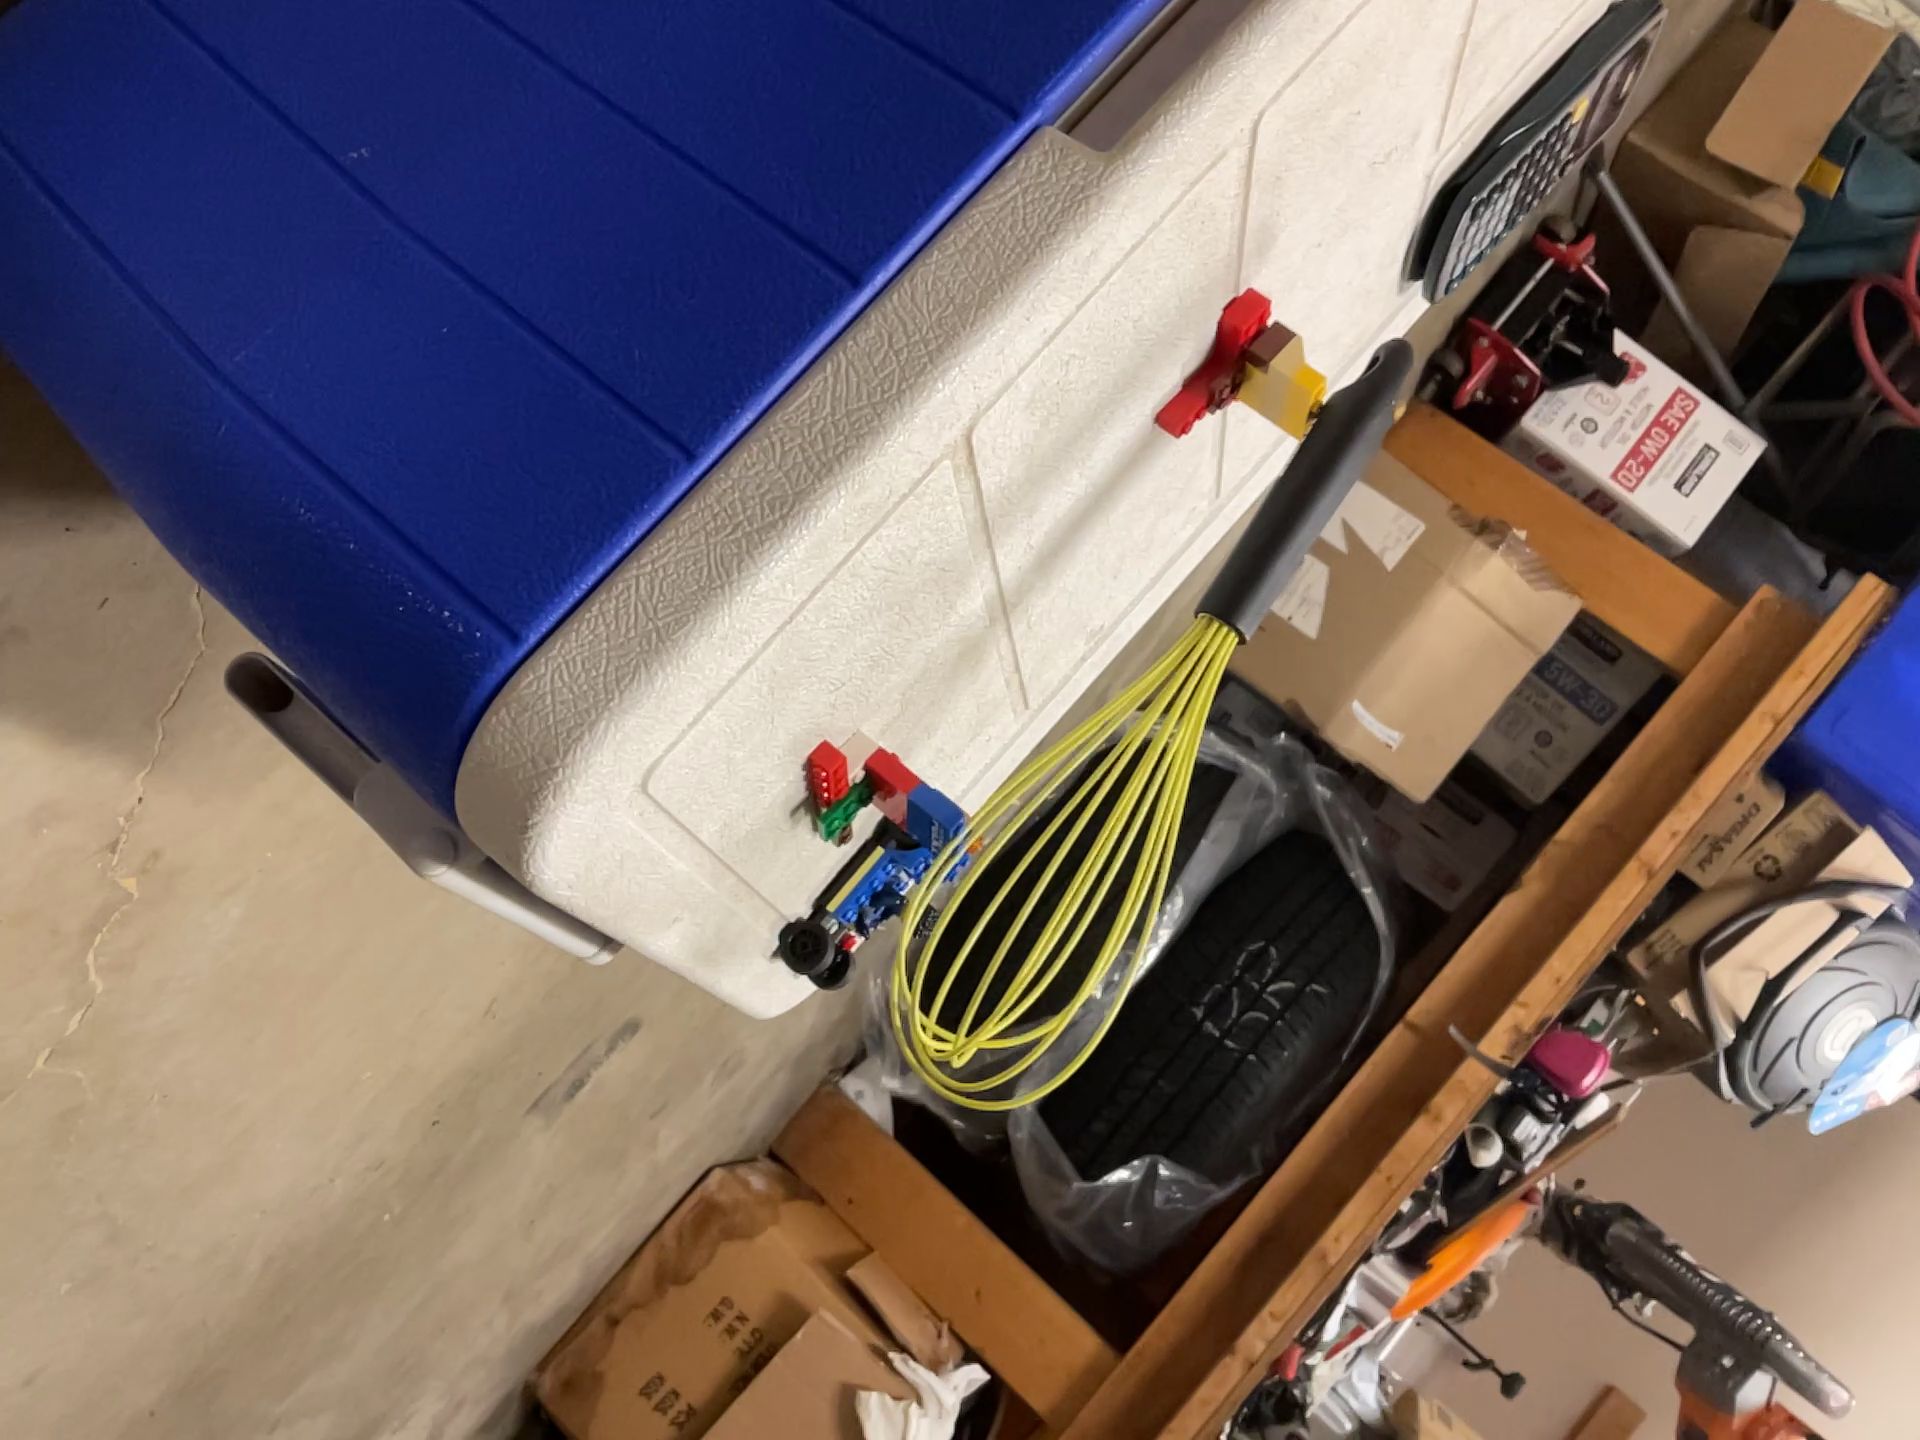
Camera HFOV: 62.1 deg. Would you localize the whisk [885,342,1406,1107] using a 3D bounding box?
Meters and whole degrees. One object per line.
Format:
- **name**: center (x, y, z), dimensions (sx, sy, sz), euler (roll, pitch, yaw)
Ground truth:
- **whisk**: center (0.072, -0.009, 0.550), dimensions (0.312, 0.067, 0.080), euler (-56, -150, -10)
